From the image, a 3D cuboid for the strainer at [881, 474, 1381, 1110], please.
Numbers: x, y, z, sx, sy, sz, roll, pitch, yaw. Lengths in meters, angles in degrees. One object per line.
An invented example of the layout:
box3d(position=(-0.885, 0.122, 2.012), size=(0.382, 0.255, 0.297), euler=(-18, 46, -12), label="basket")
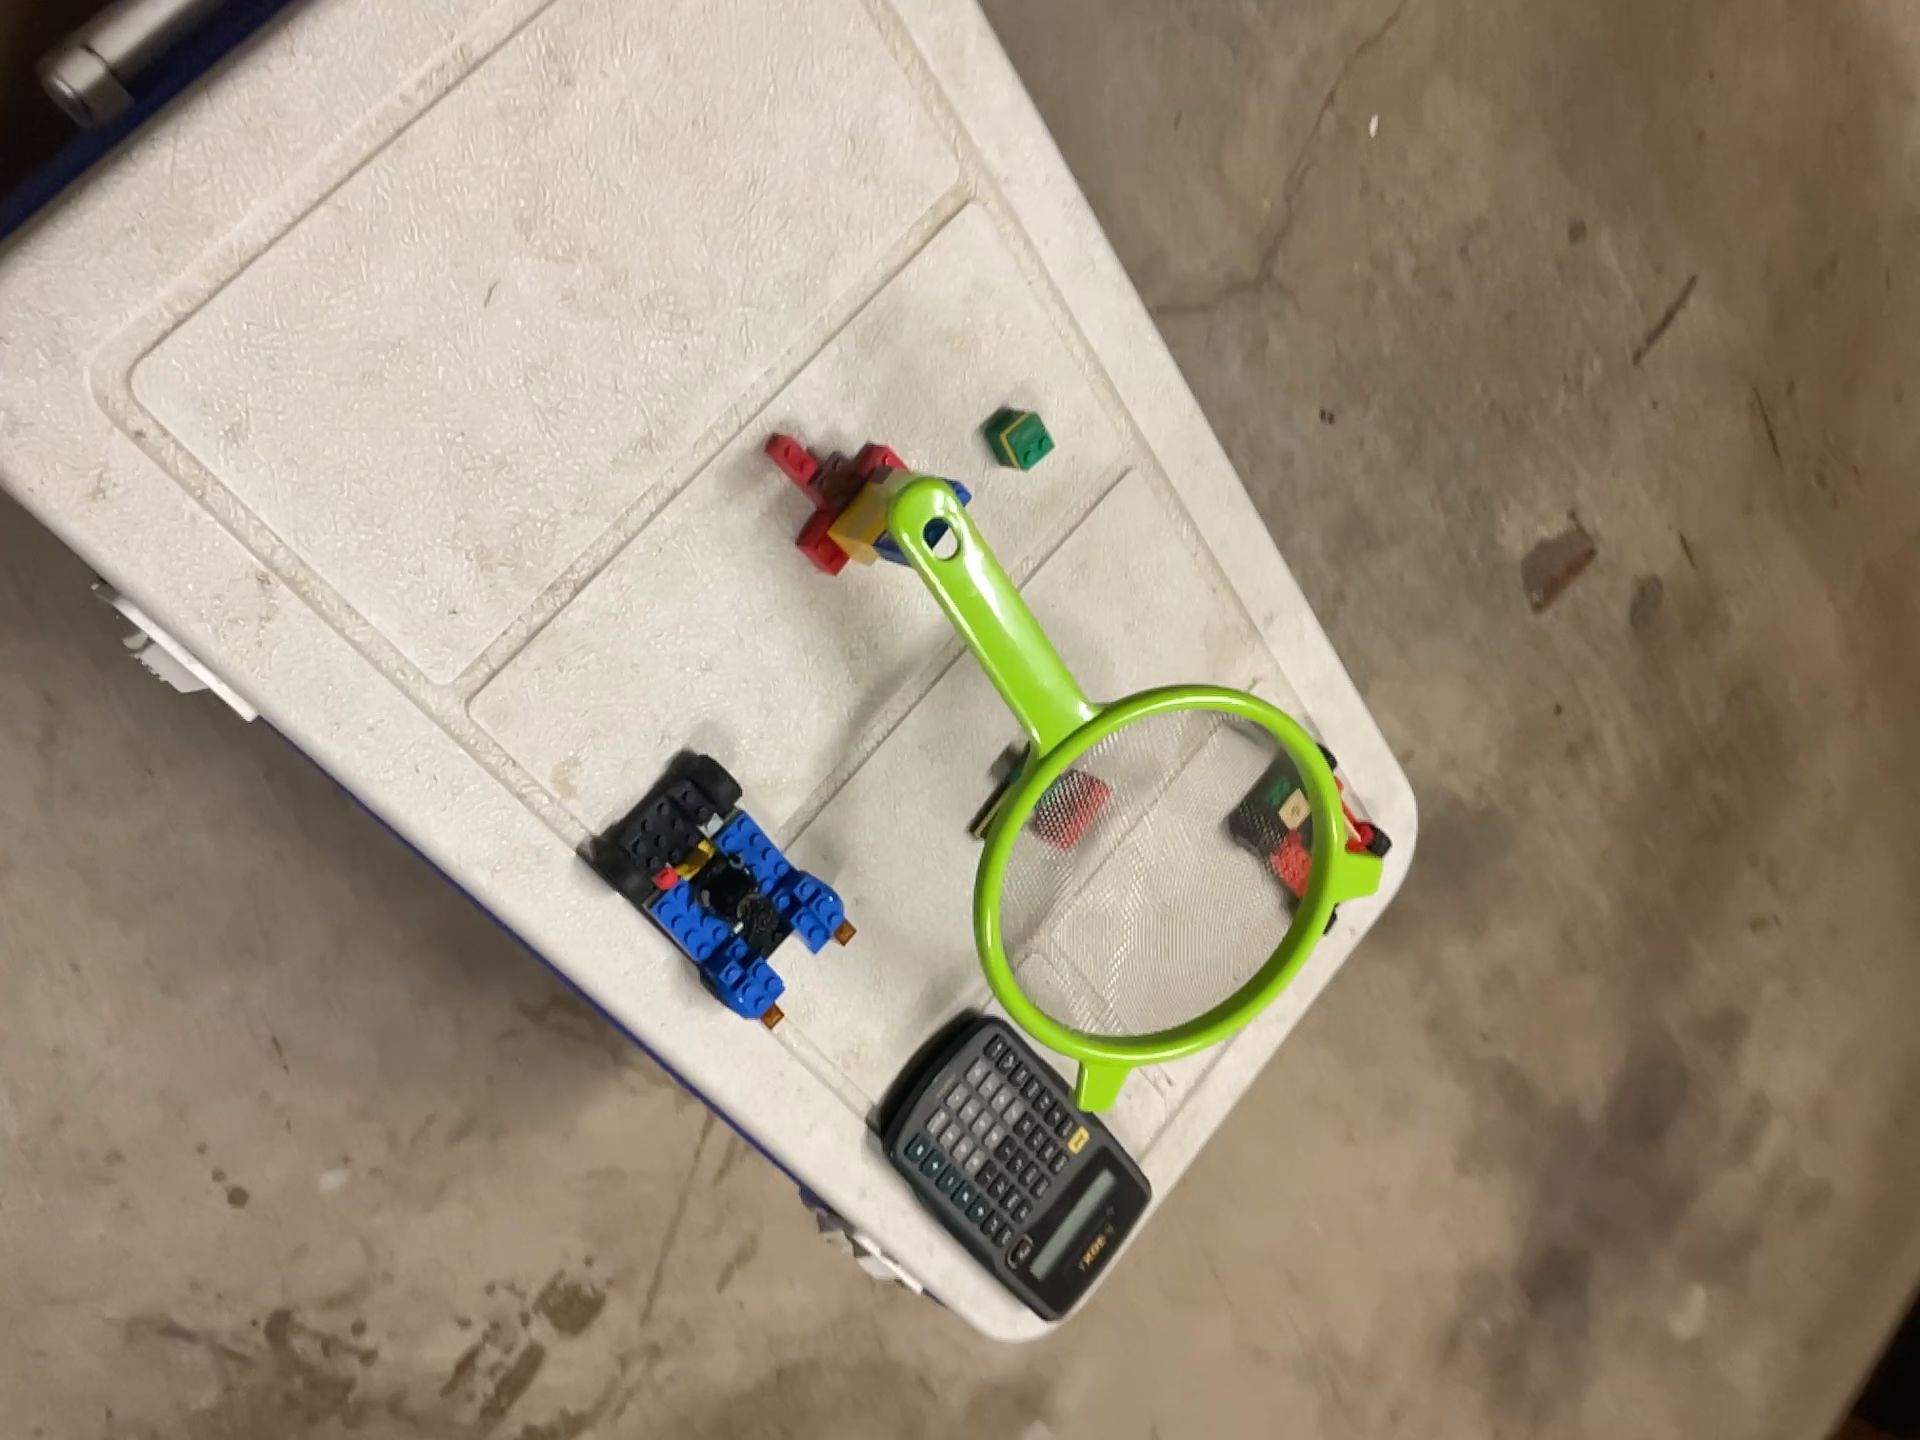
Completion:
box3d(position=(0.038, 0.012, 0.590), size=(0.151, 0.069, 0.256), euler=(-38, 116, -6), label="strainer")
